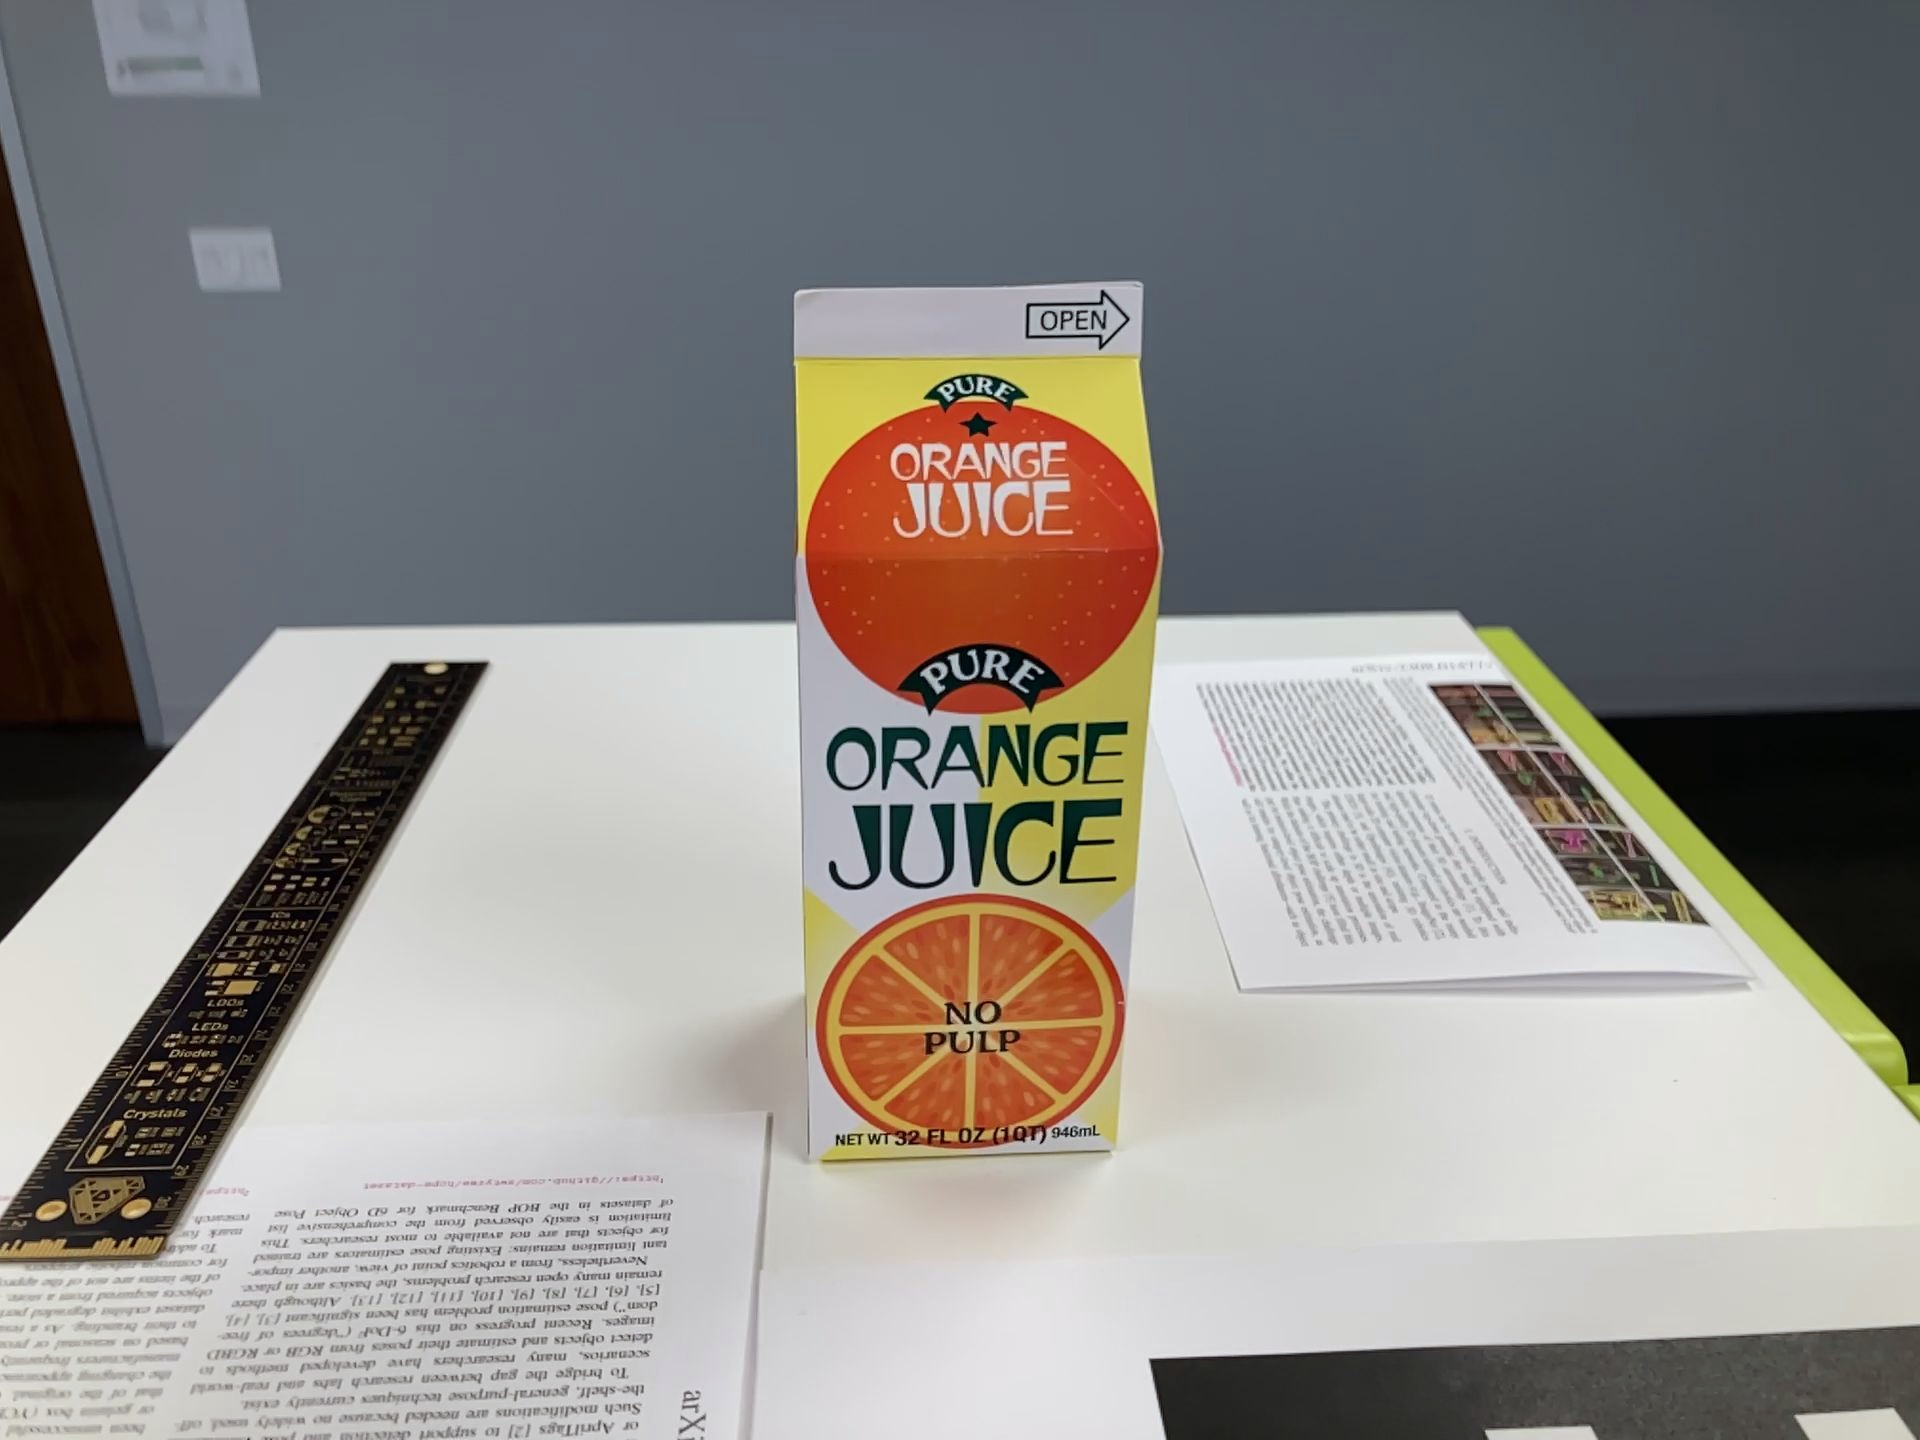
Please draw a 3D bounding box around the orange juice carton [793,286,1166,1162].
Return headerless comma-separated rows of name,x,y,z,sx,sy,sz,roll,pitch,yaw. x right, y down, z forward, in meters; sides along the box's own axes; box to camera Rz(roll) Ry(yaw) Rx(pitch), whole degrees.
orange juice carton,0.000,0.001,0.355,0.072,0.192,0.073,-1,26,-5
